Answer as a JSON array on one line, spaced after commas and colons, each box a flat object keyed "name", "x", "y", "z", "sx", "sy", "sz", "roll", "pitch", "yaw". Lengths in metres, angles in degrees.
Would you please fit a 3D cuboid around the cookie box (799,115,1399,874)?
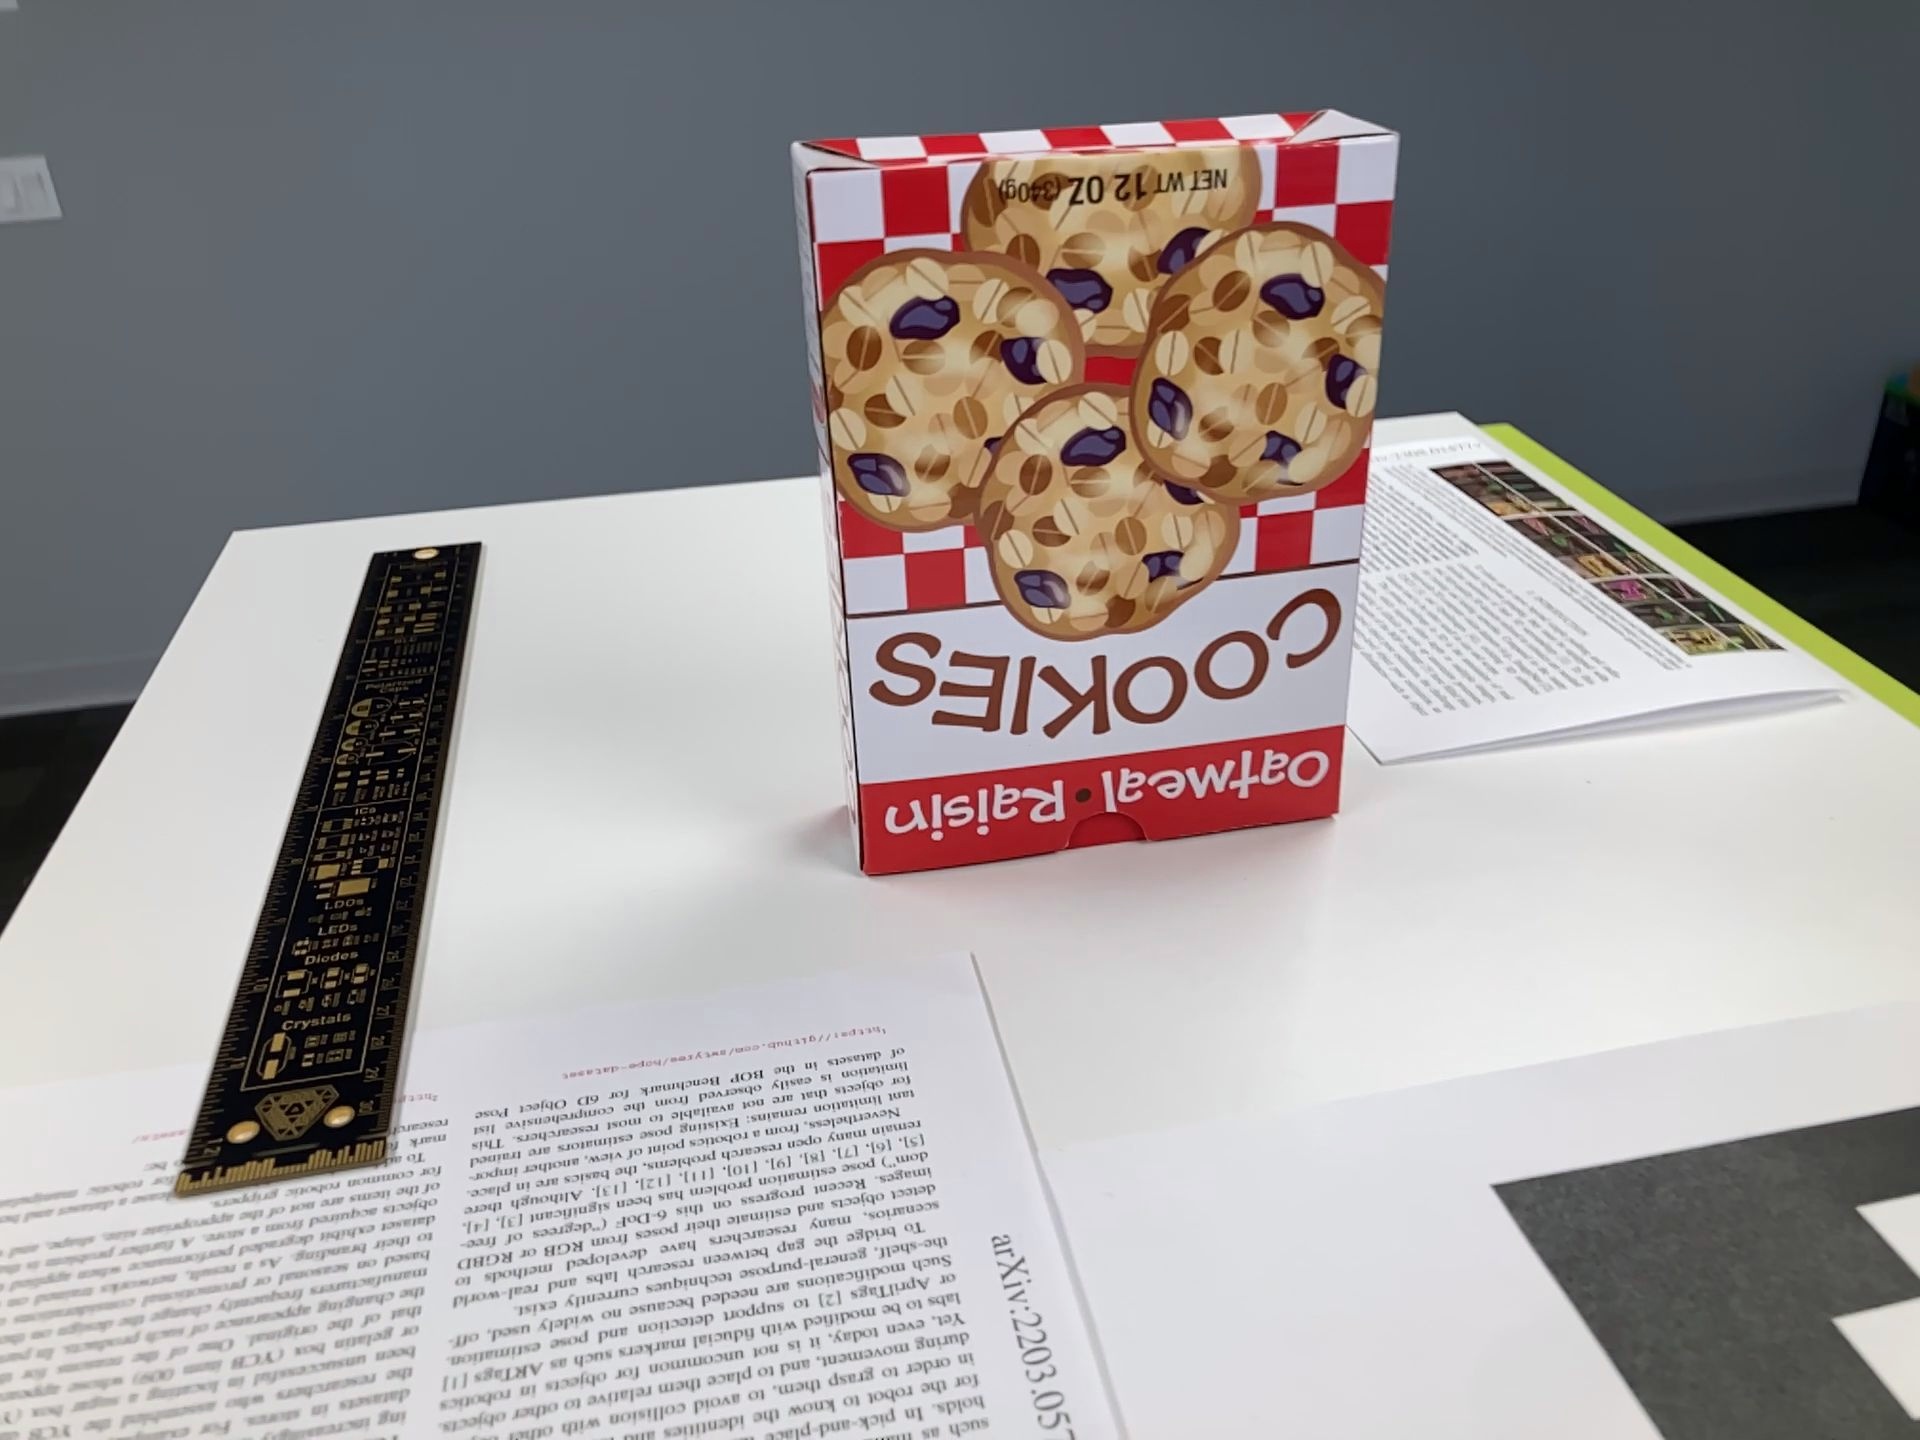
[{"name": "cookie box", "x": 0.031, "y": -0.048, "z": 0.373, "sx": 0.123, "sy": 0.167, "sz": 0.040, "roll": -6, "pitch": 28, "yaw": -8}]
